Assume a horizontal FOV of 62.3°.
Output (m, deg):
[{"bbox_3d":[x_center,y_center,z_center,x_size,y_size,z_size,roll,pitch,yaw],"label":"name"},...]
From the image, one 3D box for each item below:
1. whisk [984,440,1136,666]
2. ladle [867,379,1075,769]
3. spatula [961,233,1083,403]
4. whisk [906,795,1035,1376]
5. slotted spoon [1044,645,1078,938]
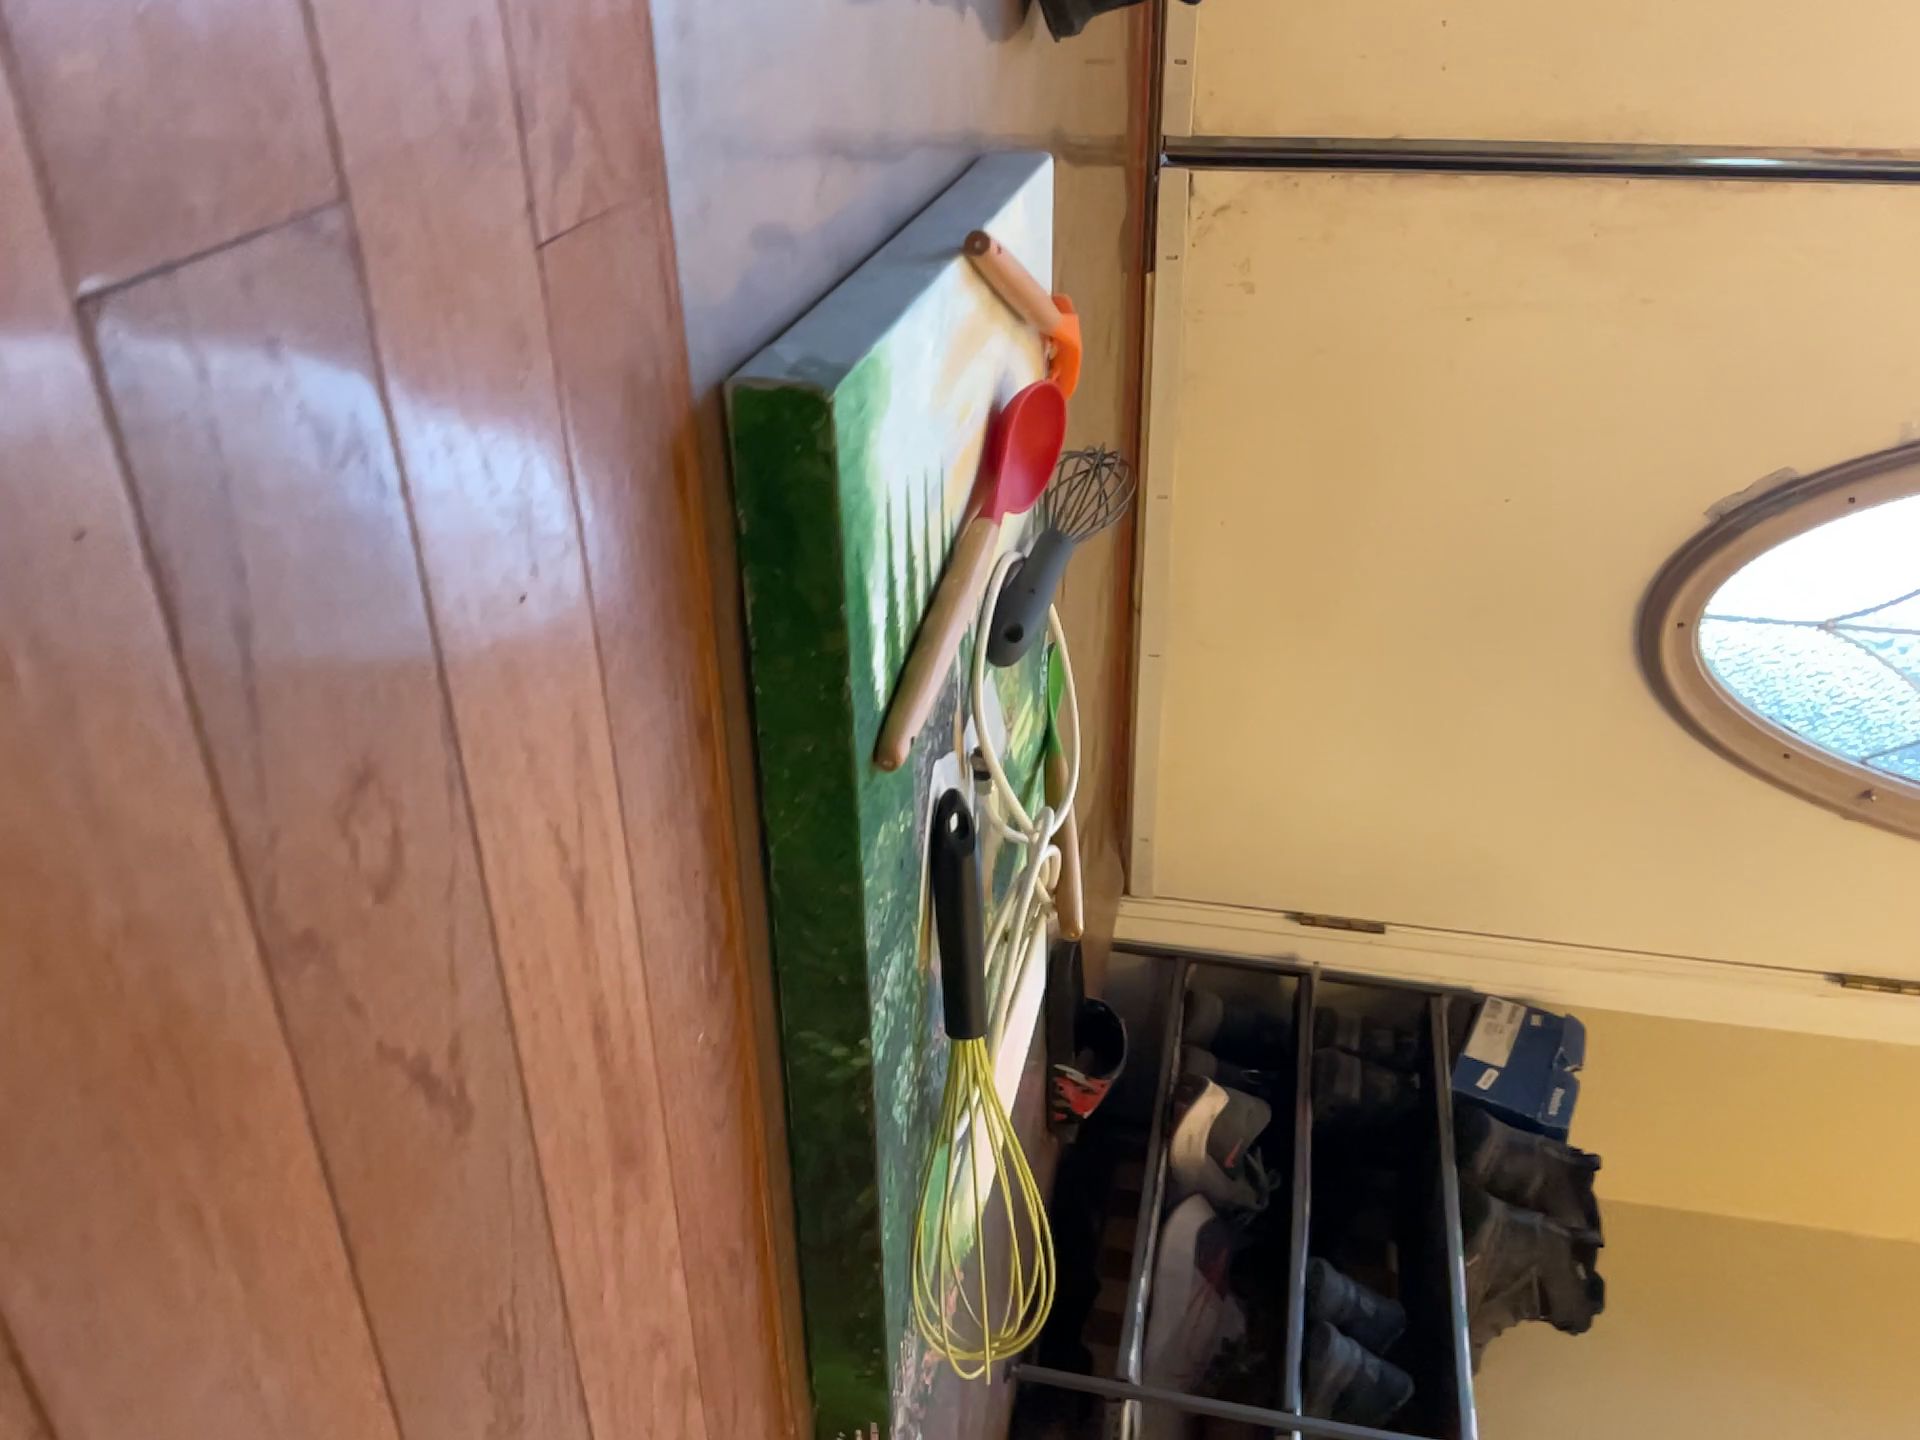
[{"bbox_3d":[0.059,-0.103,0.956,0.239,0.055,0.055,-62,145,-48],"label":"whisk"},{"bbox_3d":[0.008,-0.077,0.762,0.316,0.031,0.069,-67,158,-50],"label":"ladle"},{"bbox_3d":[0.035,-0.222,0.874,0.322,0.041,0.081,-14,98,-76],"label":"spatula"},{"bbox_3d":[0.002,0.190,0.812,0.080,0.067,0.311,-58,146,-77],"label":"whisk"},{"bbox_3d":[0.065,0.041,1.070,0.314,0.031,0.070,-88,178,-58],"label":"slotted spoon"}]
